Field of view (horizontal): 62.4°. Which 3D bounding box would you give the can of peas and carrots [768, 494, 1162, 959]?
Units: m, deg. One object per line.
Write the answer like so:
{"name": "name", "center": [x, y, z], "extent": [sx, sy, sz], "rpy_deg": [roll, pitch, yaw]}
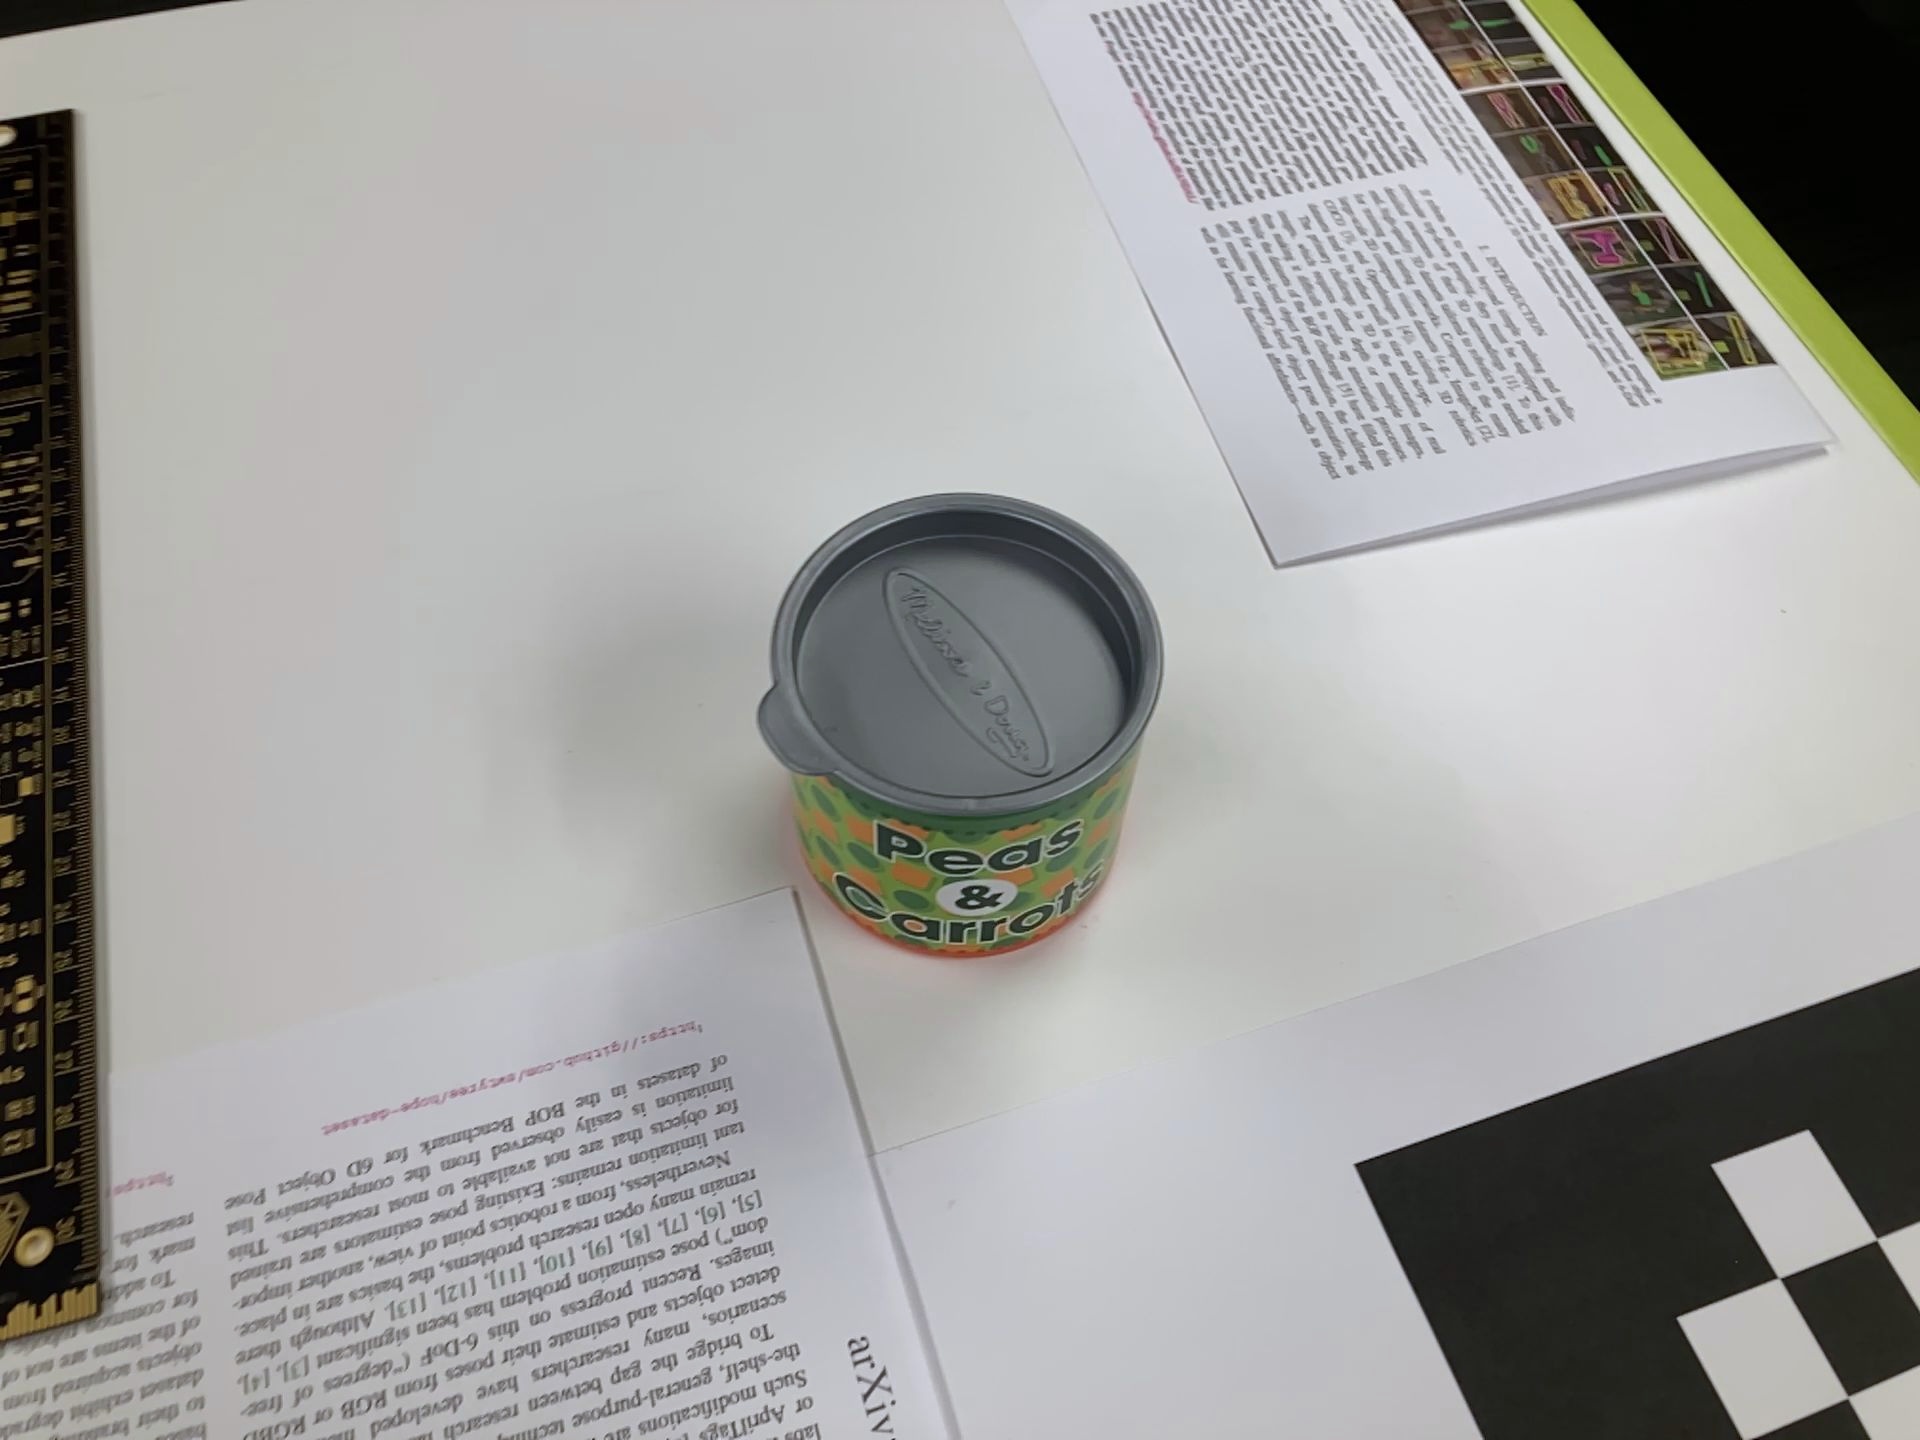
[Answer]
{"name": "can of peas and carrots", "center": [0.000, 0.004, 0.288], "extent": [0.071, 0.059, 0.071], "rpy_deg": [1, 58, -1]}
